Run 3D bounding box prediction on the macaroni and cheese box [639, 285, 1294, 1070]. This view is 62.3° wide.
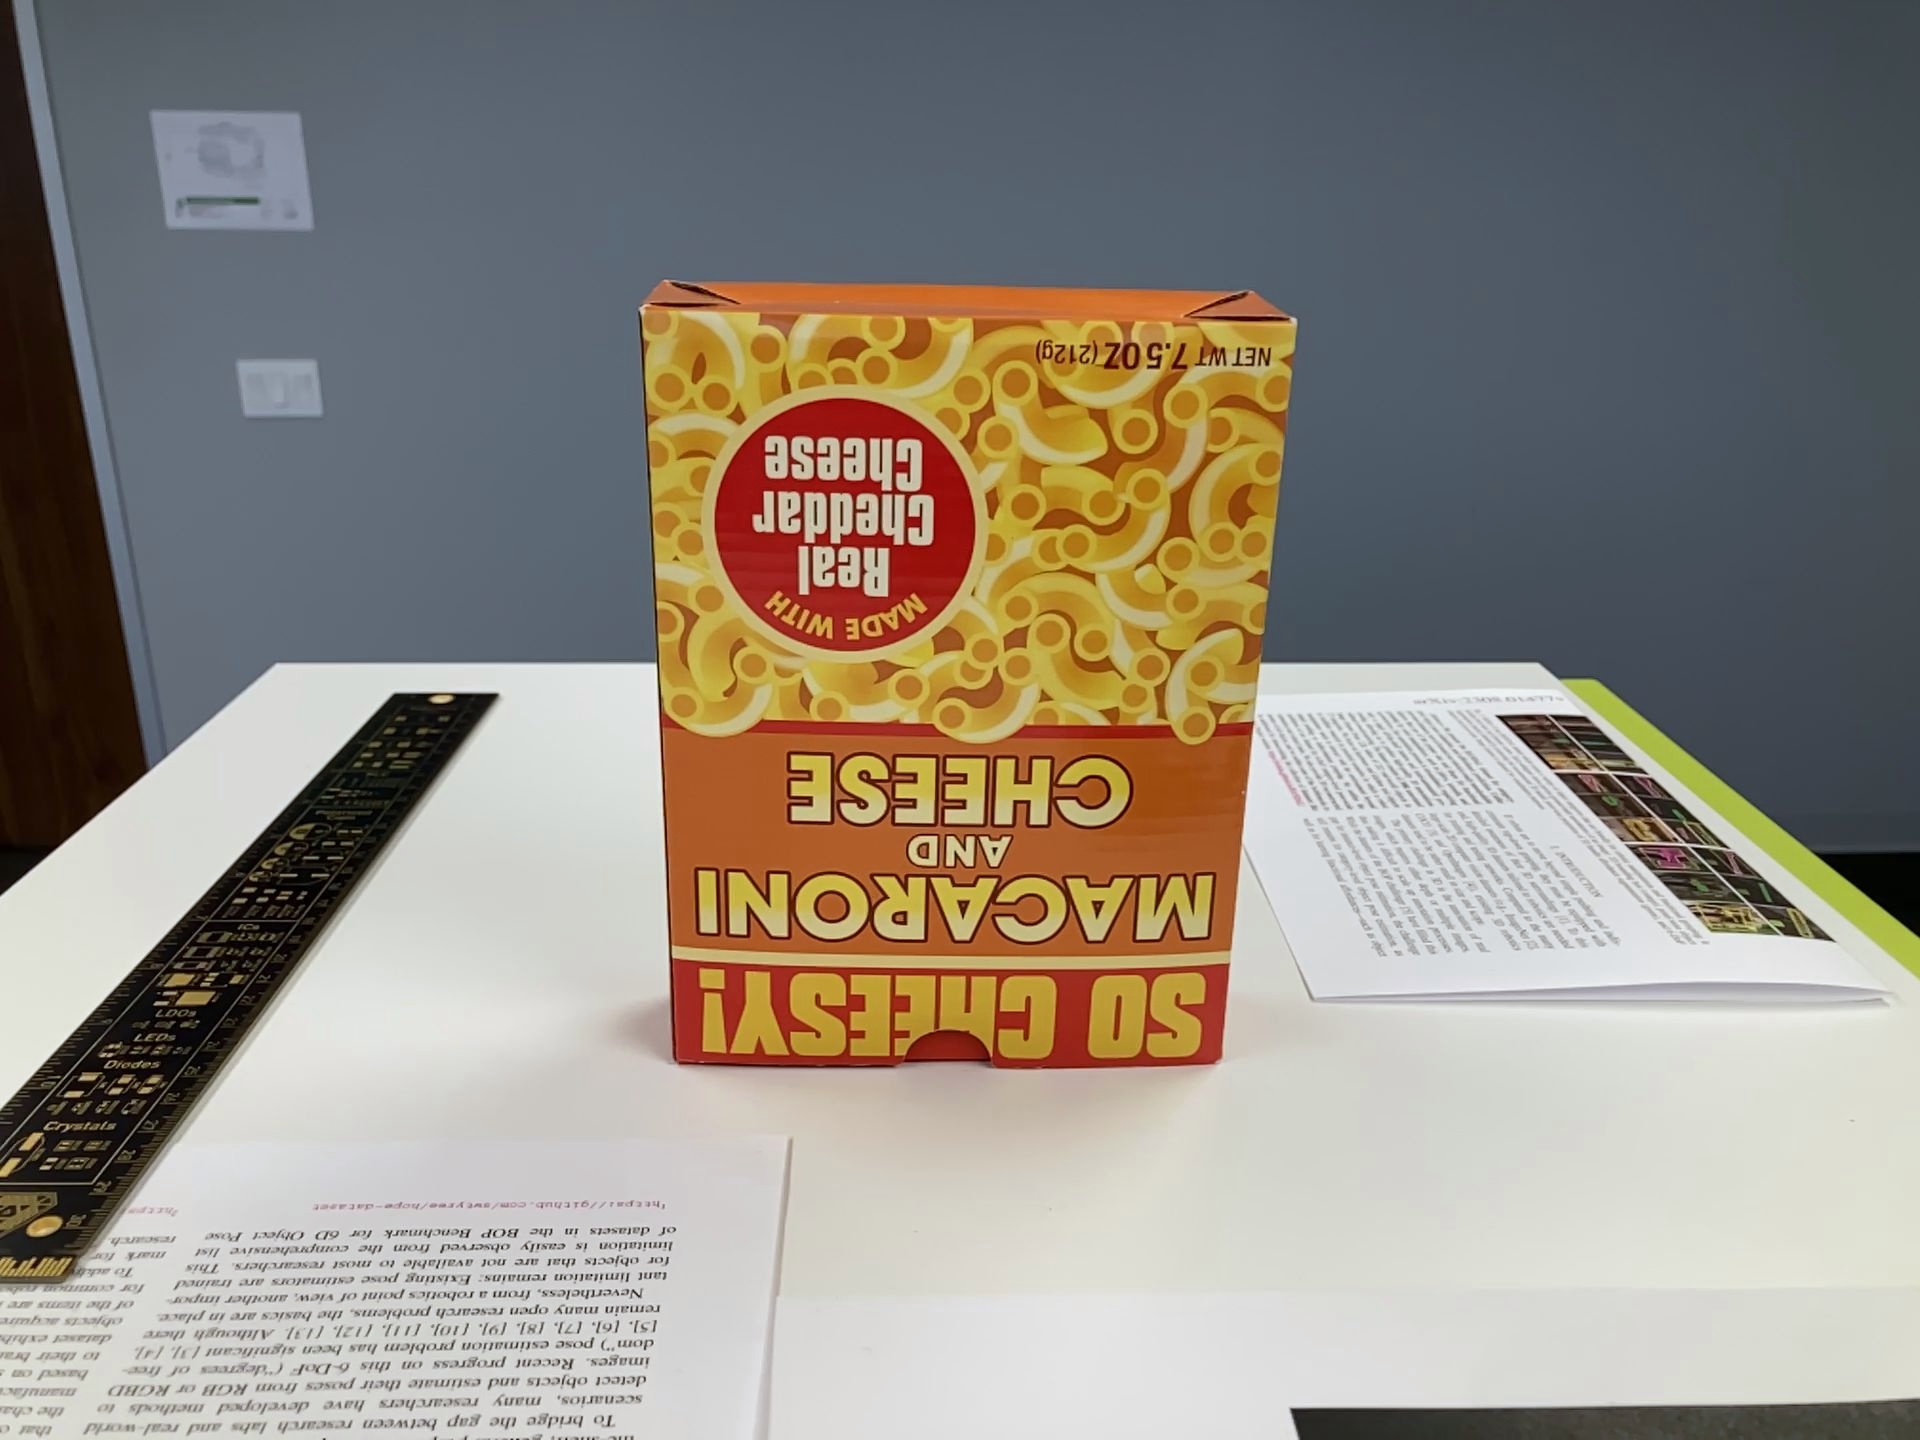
[{"bbox_3d":[-0.002,-0.004,0.341,0.124,0.166,0.040,1,22,-2],"label":"macaroni and cheese box"}]
